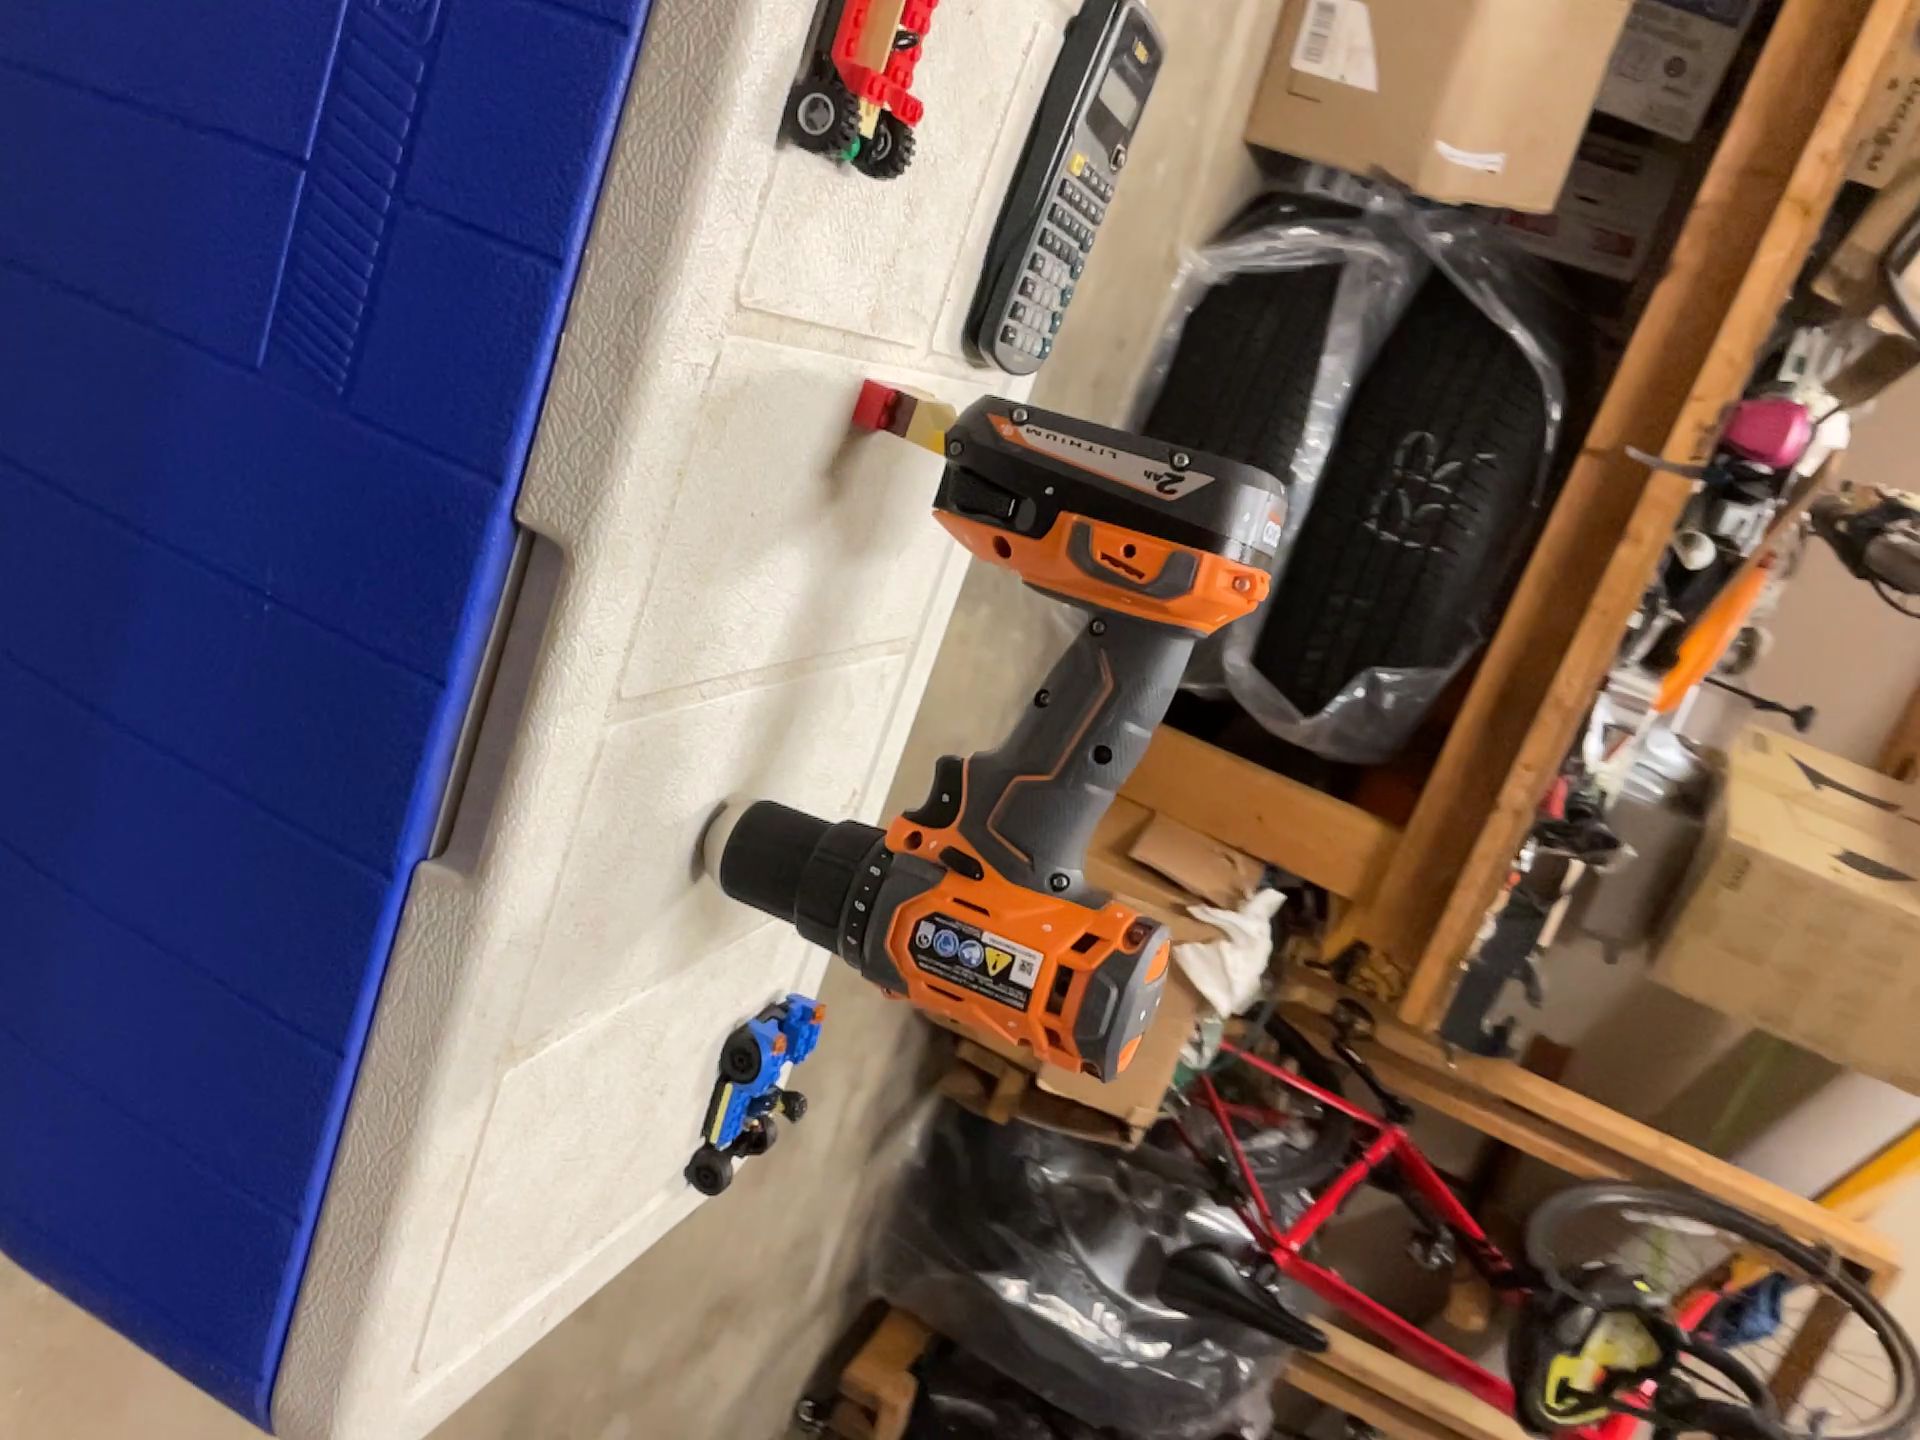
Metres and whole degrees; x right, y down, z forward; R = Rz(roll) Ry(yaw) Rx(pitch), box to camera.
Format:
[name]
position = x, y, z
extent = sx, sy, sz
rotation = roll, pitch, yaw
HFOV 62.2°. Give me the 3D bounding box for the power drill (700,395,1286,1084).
[power drill]
position = 0.008, 0.000, 0.595
extent = 0.084, 0.185, 0.226
rotation = -4, 112, -70
